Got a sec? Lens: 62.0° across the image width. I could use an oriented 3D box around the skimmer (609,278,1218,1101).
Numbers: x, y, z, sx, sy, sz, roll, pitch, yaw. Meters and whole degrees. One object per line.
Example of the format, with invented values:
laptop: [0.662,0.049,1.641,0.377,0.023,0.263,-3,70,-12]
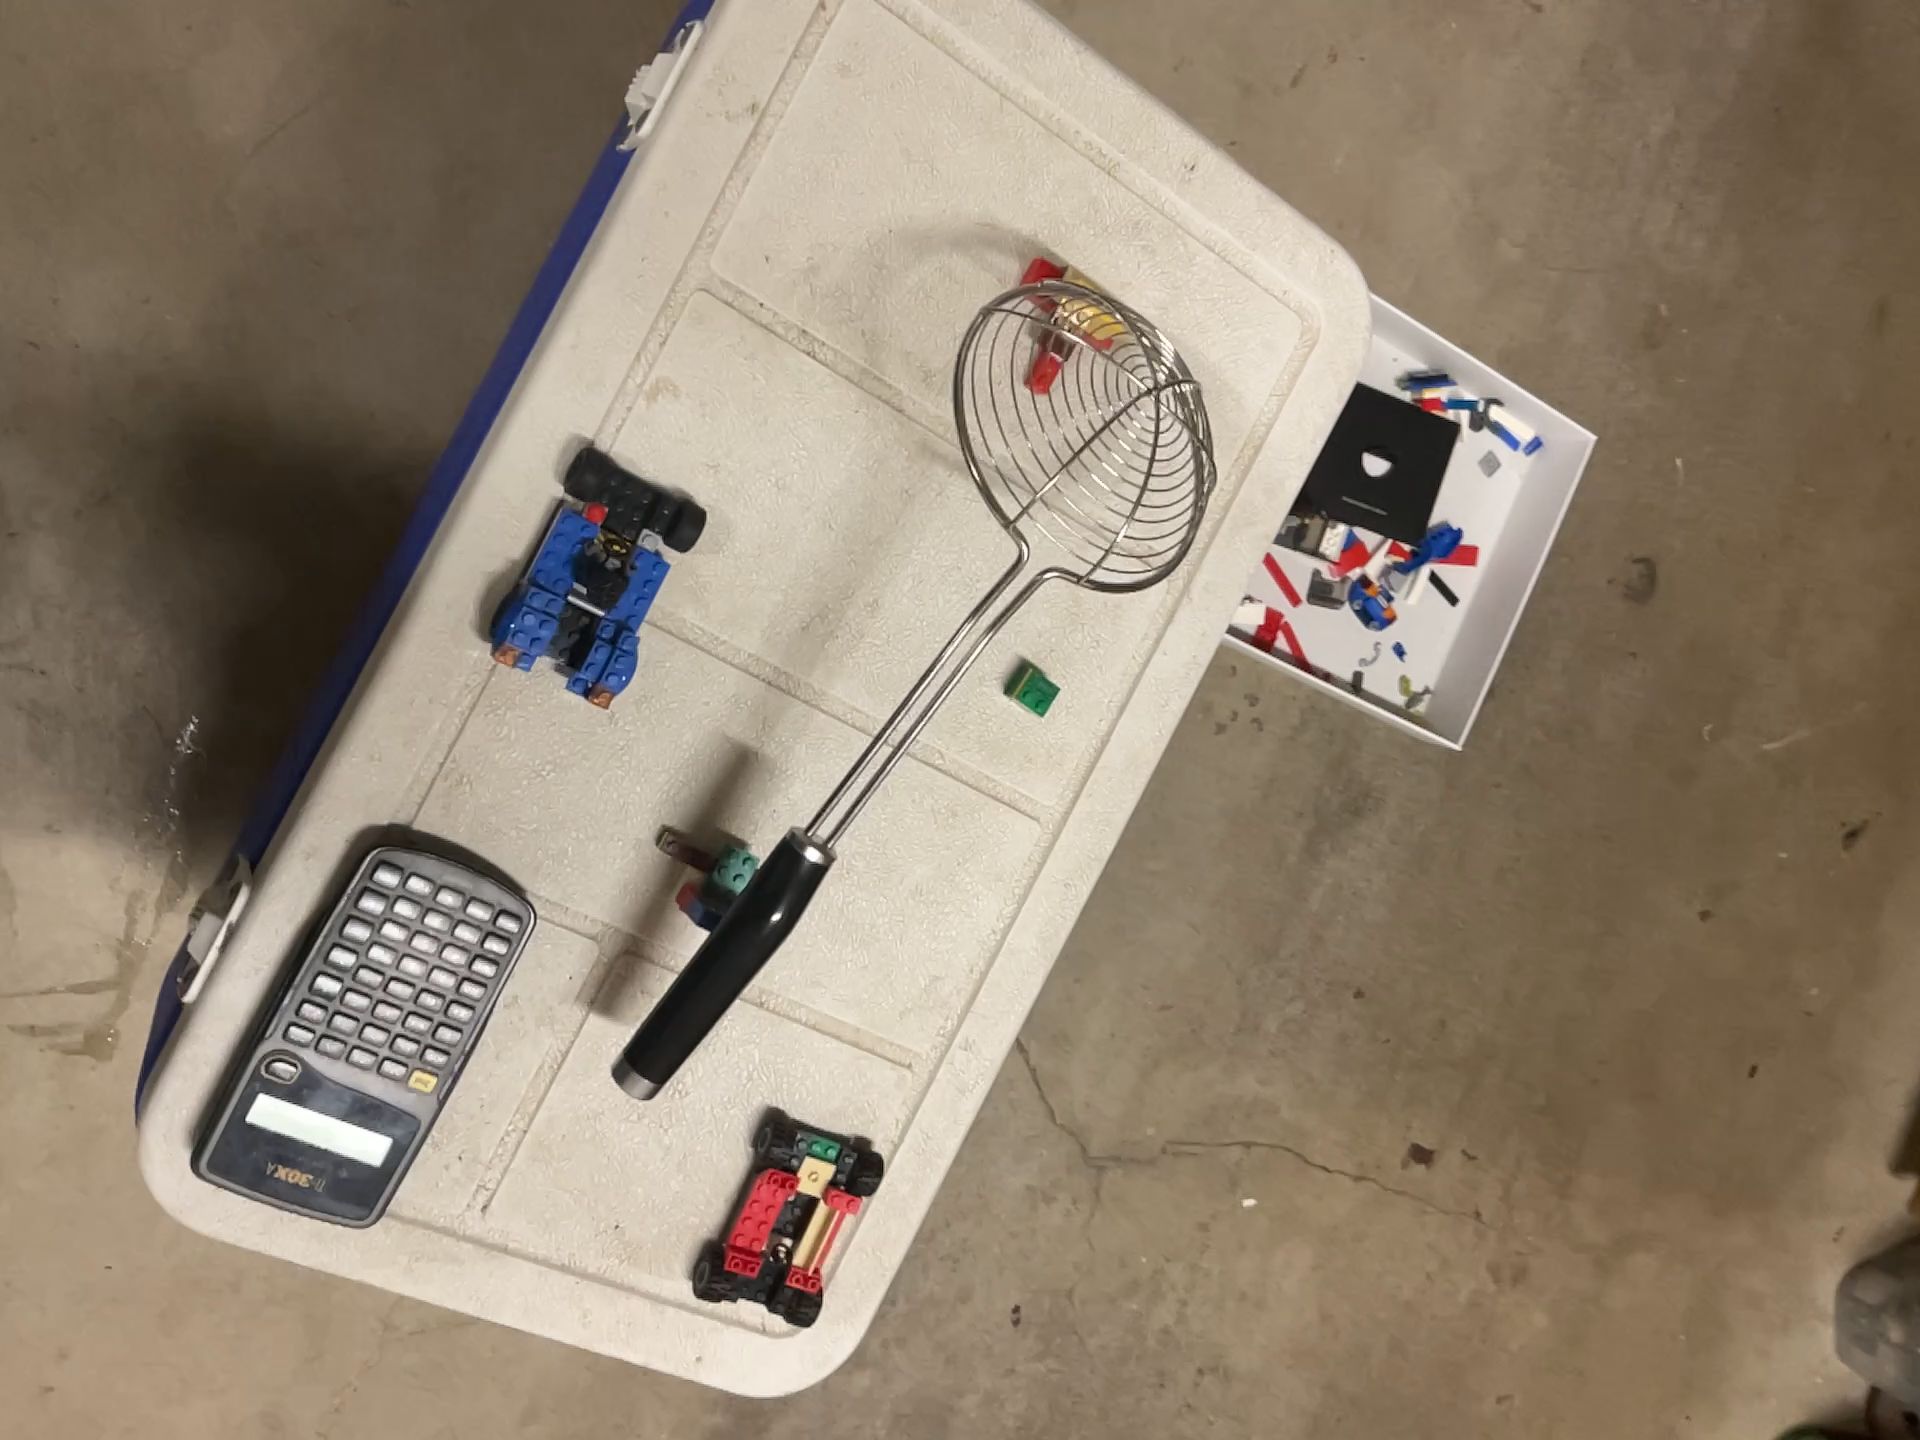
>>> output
skimmer: [-0.029,-0.008,0.639,0.127,0.090,0.363,34,98,-24]
